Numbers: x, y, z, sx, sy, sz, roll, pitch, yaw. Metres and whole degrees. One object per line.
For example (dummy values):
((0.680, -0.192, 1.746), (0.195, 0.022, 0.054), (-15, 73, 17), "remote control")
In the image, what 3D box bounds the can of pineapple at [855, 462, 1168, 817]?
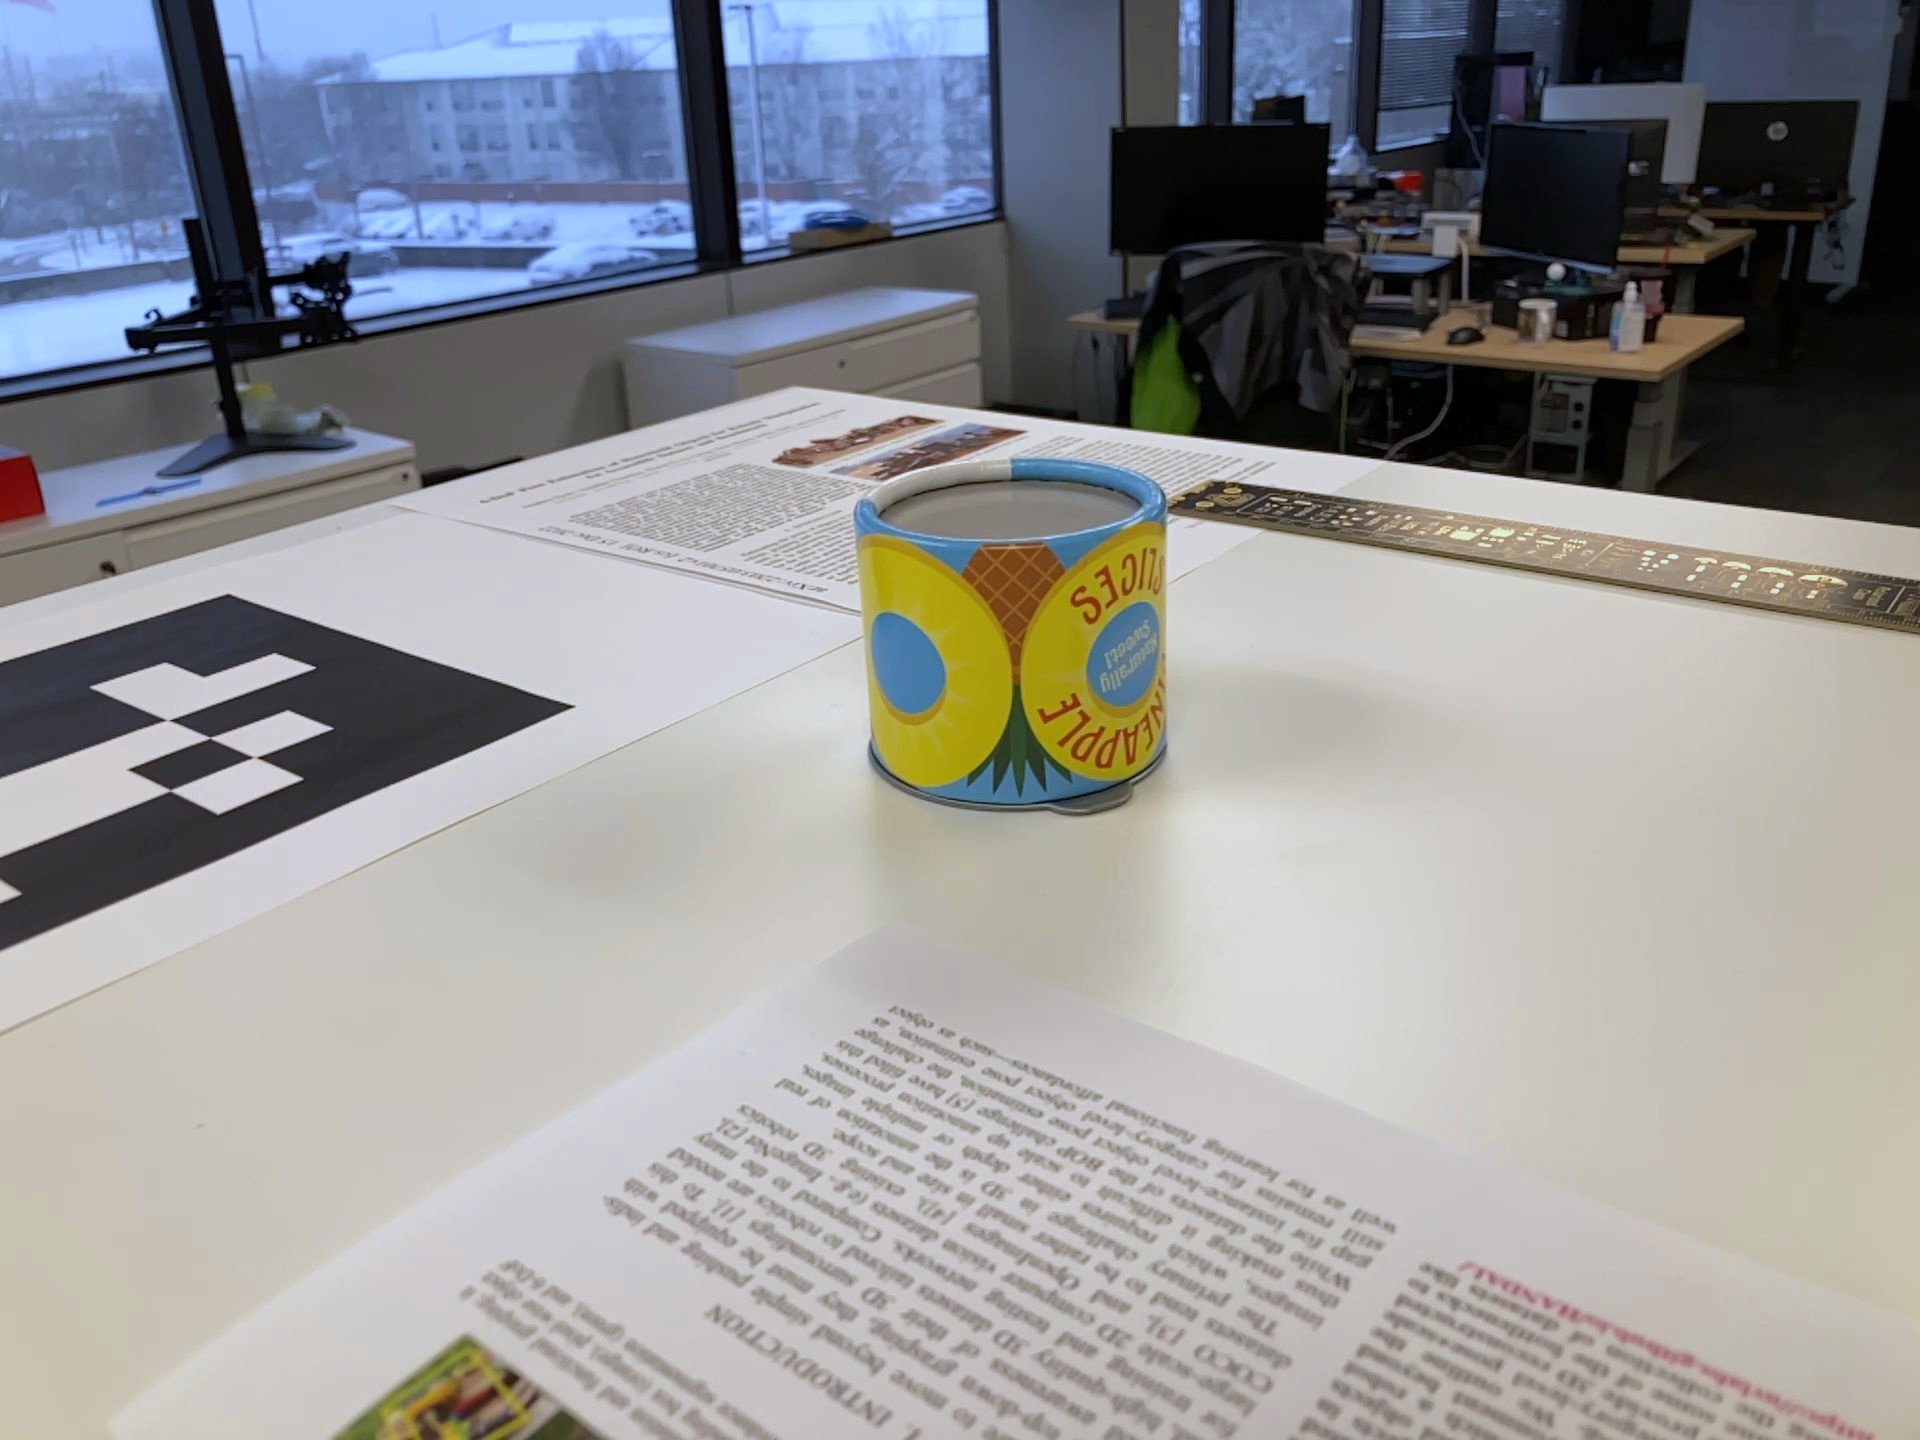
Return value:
((0.013, -0.019, 0.340), (0.071, 0.058, 0.071), (-2, 23, 1), "can of pineapple")
